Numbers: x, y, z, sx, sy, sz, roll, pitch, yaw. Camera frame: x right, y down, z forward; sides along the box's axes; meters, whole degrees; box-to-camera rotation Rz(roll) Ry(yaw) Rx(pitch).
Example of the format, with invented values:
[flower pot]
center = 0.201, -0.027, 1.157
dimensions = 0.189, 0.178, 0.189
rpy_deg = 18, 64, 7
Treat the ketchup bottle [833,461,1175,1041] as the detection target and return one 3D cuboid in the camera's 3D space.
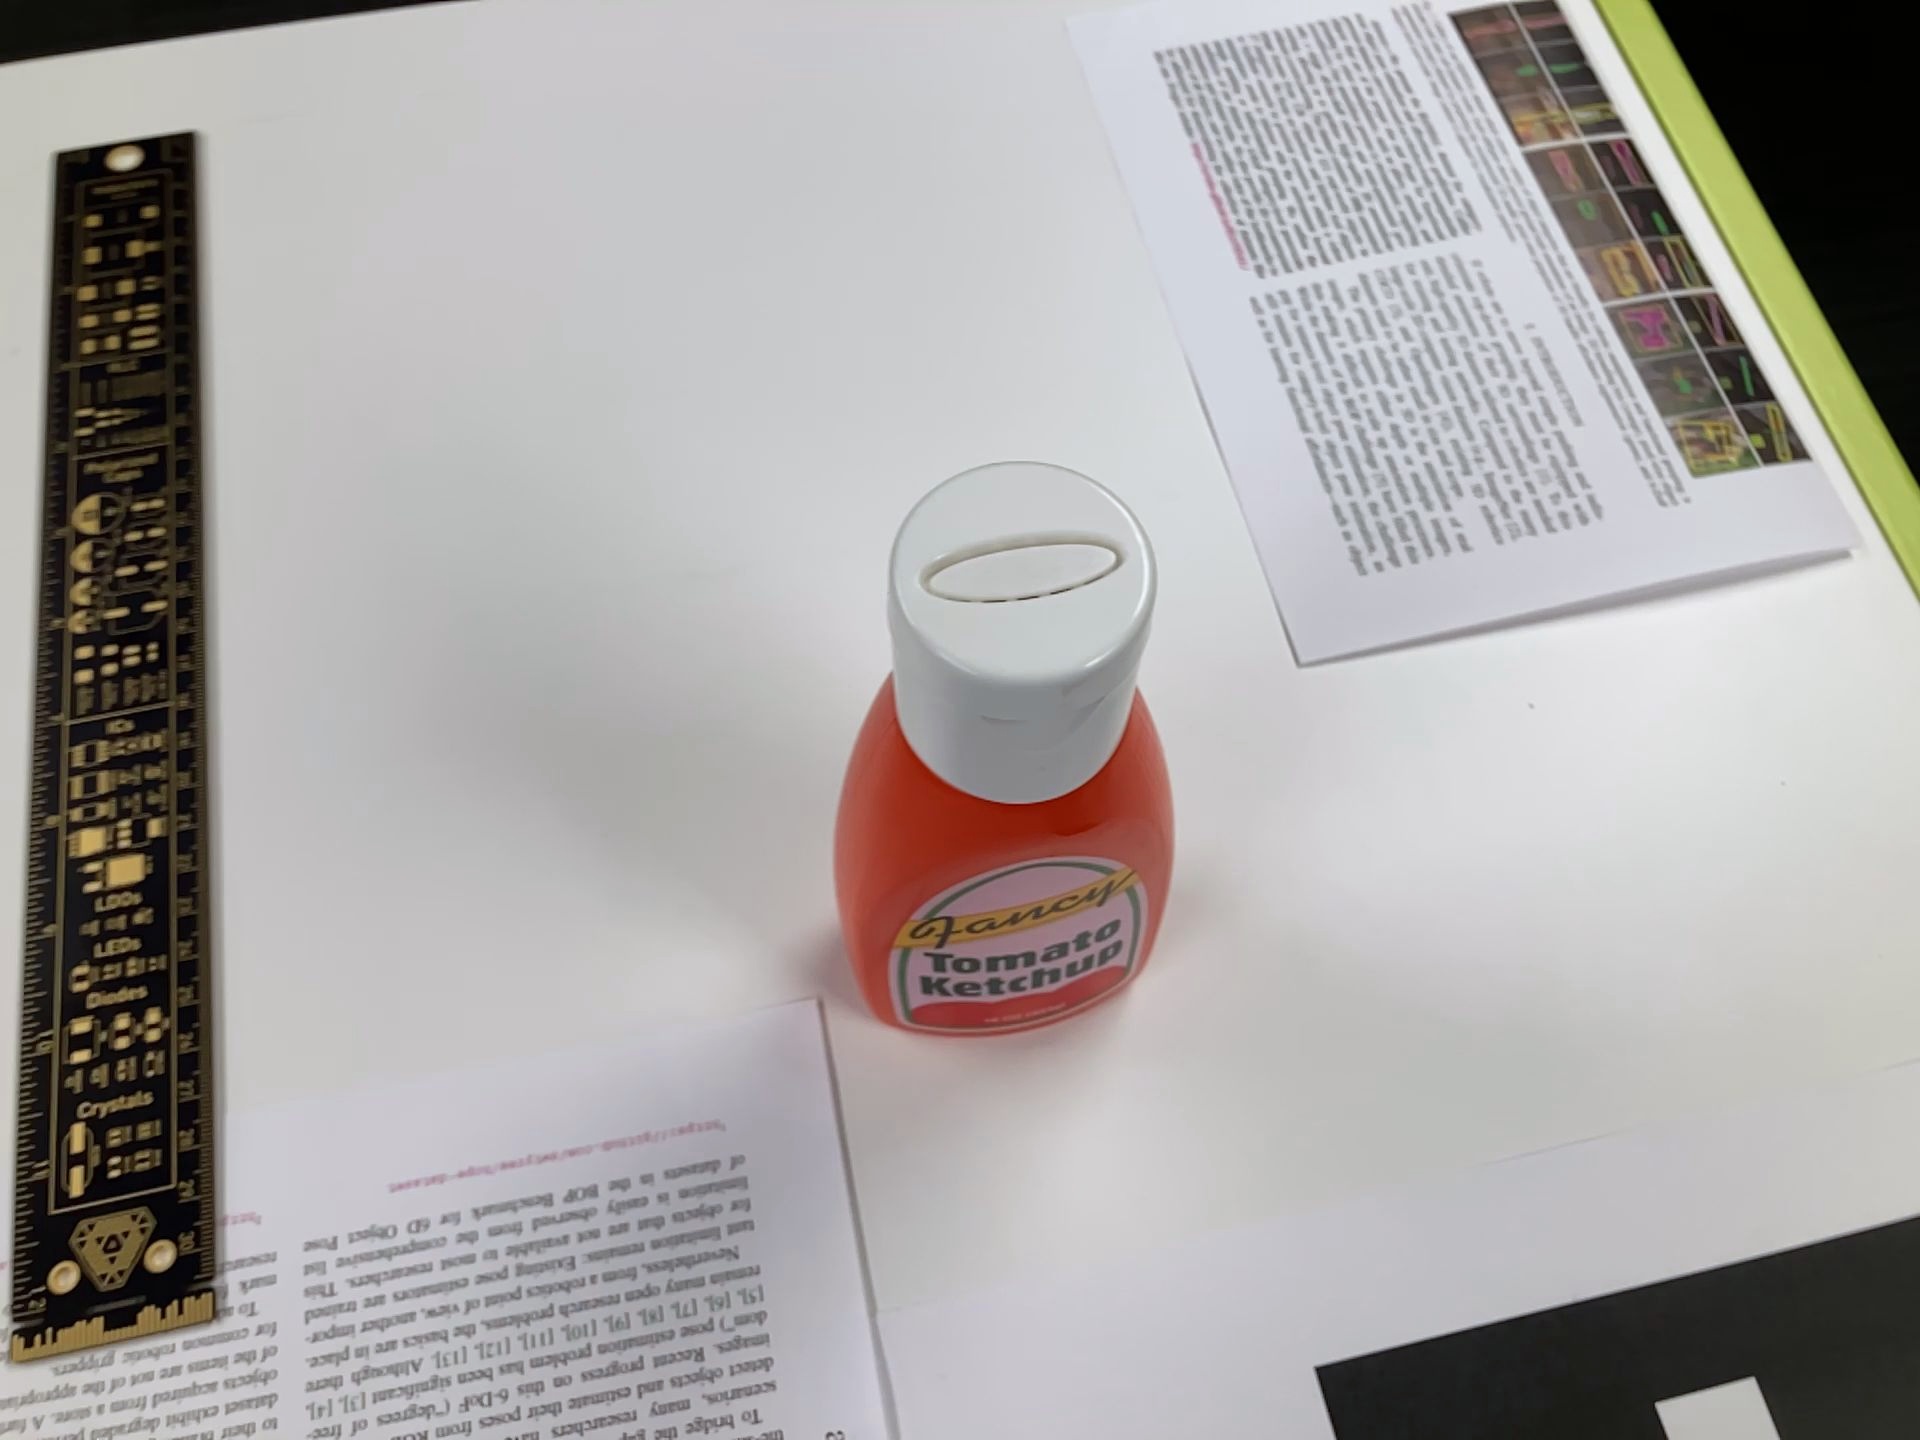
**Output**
[ketchup bottle]
center = 0.008, 0.013, 0.278
dimensions = 0.065, 0.149, 0.043
rpy_deg = -10, 62, -5
